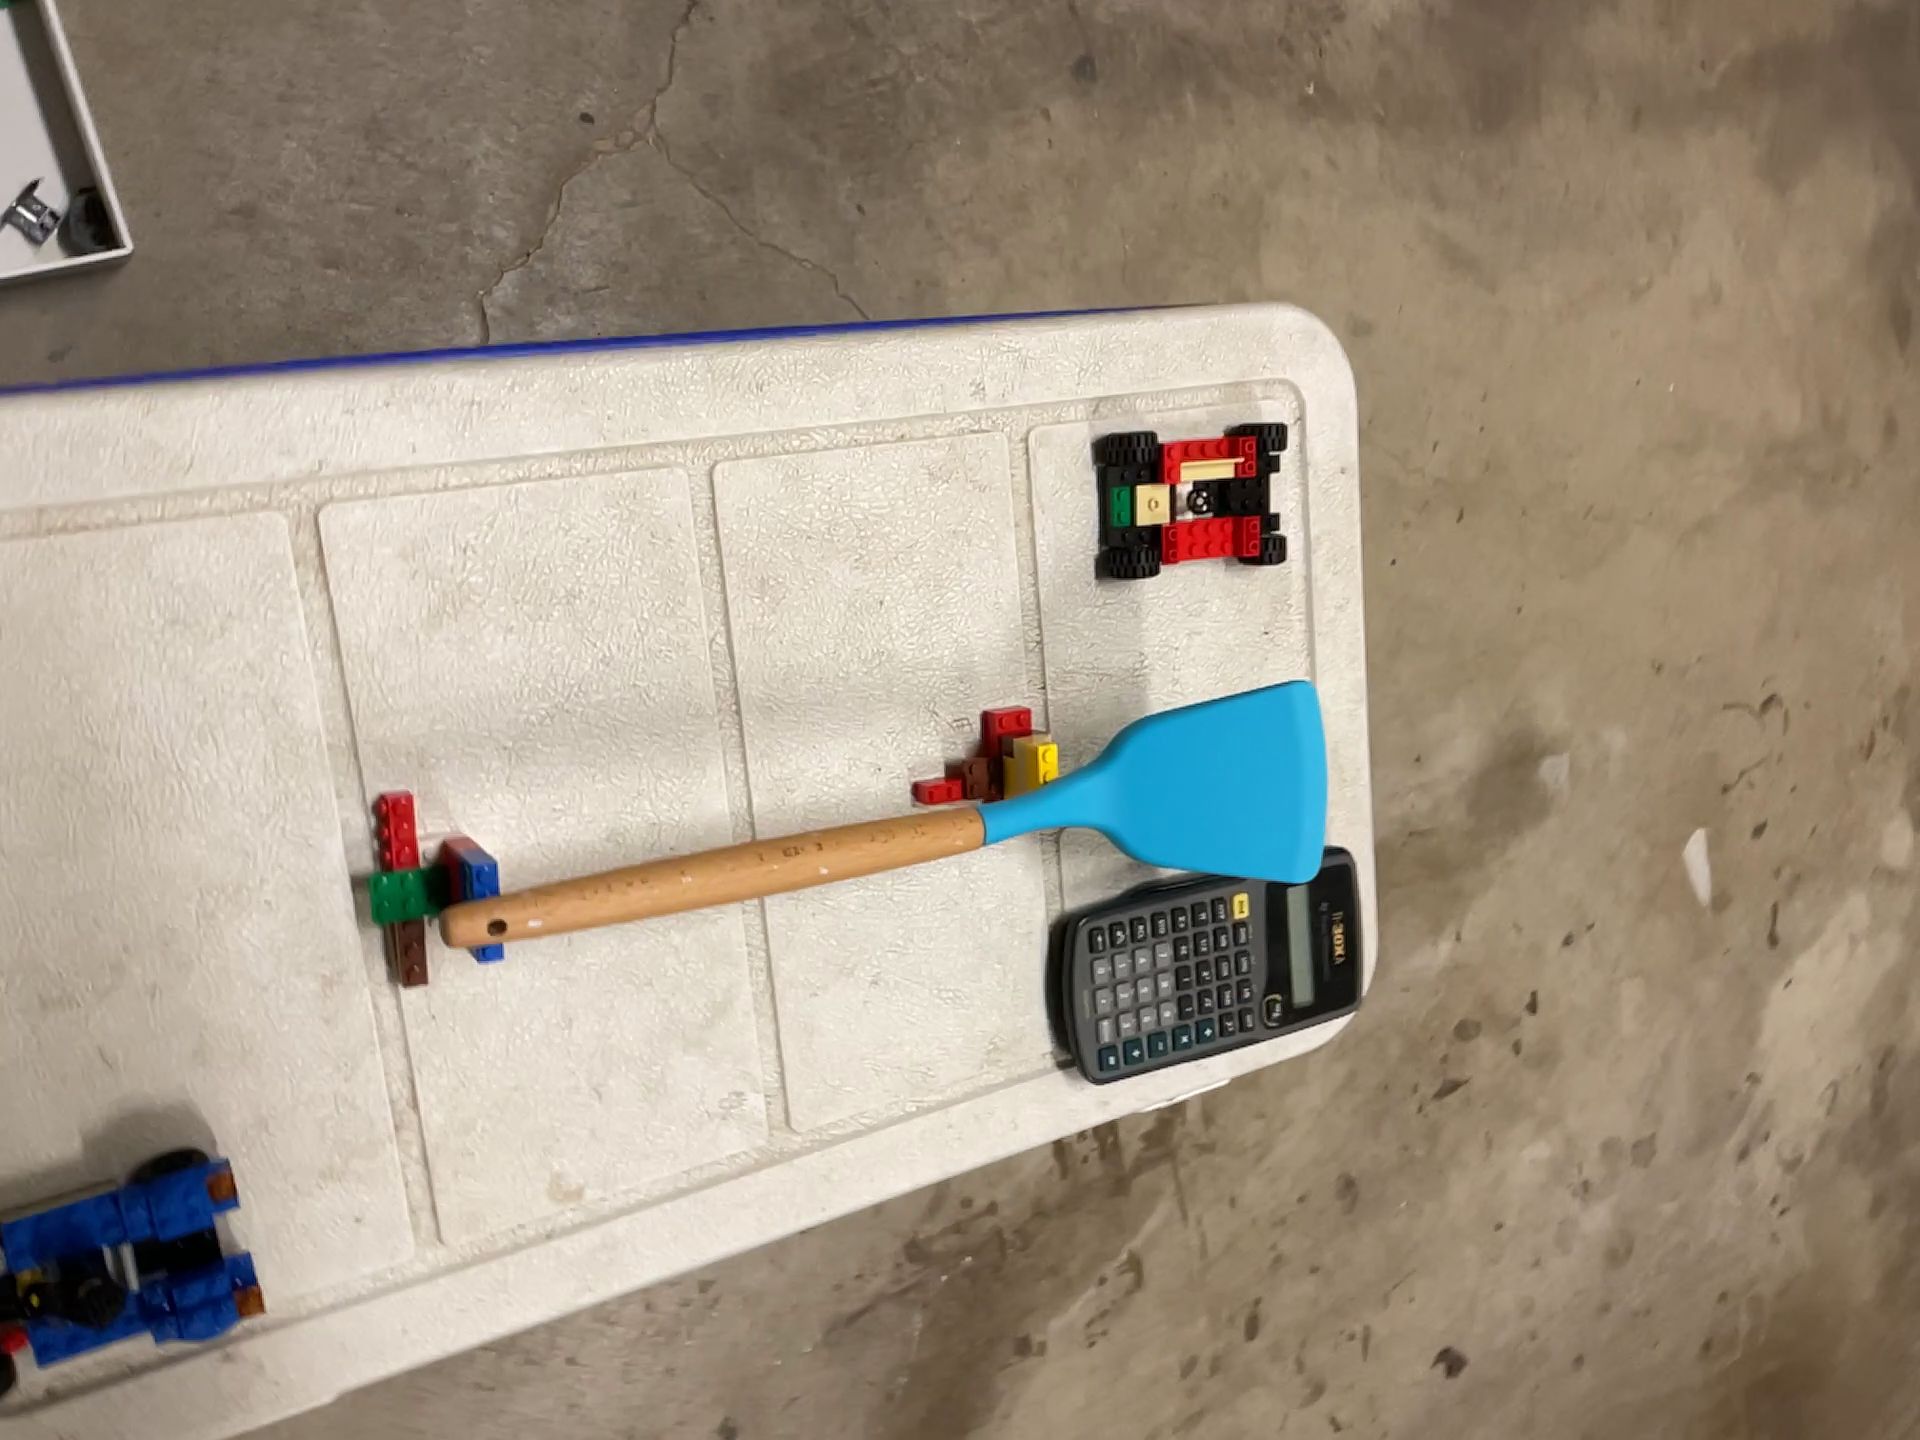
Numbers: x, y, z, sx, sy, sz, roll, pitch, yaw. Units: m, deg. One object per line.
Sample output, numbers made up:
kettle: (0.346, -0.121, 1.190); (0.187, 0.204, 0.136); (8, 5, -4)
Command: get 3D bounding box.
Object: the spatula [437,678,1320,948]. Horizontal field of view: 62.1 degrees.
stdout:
spatula: (-0.014, 0.042, 0.546); (0.317, 0.044, 0.082); (-9, 105, -28)
